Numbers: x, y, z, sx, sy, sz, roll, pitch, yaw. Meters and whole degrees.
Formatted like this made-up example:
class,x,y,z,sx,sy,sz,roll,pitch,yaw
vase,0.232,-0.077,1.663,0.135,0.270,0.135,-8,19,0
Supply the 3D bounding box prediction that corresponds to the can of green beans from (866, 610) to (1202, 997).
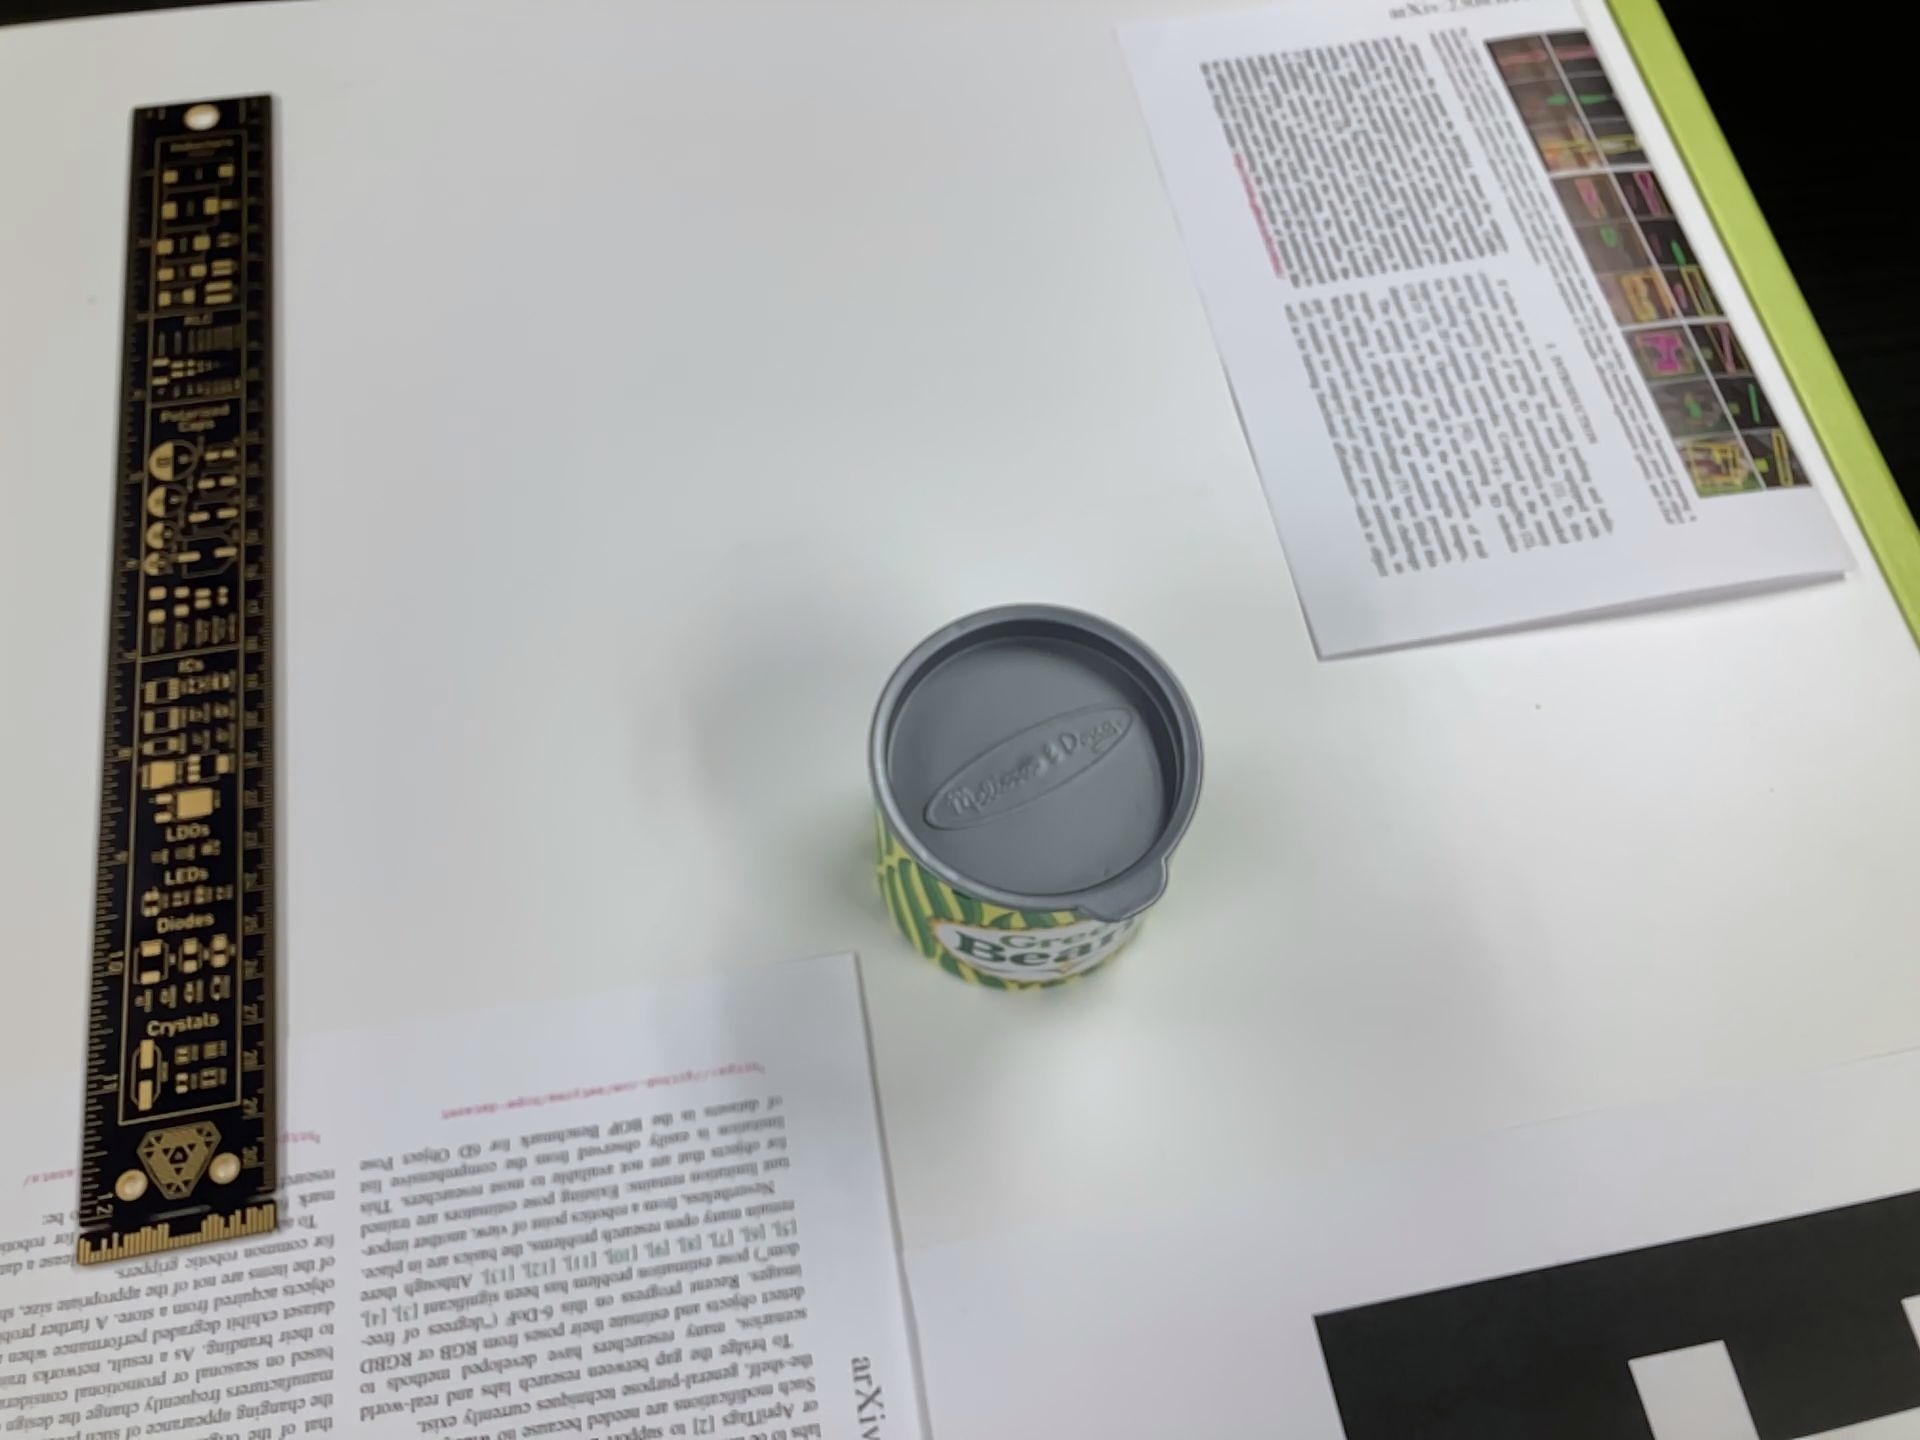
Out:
class,x,y,z,sx,sy,sz,roll,pitch,yaw
can of green beans,0.014,0.020,0.339,0.071,0.058,0.071,1,64,-1
